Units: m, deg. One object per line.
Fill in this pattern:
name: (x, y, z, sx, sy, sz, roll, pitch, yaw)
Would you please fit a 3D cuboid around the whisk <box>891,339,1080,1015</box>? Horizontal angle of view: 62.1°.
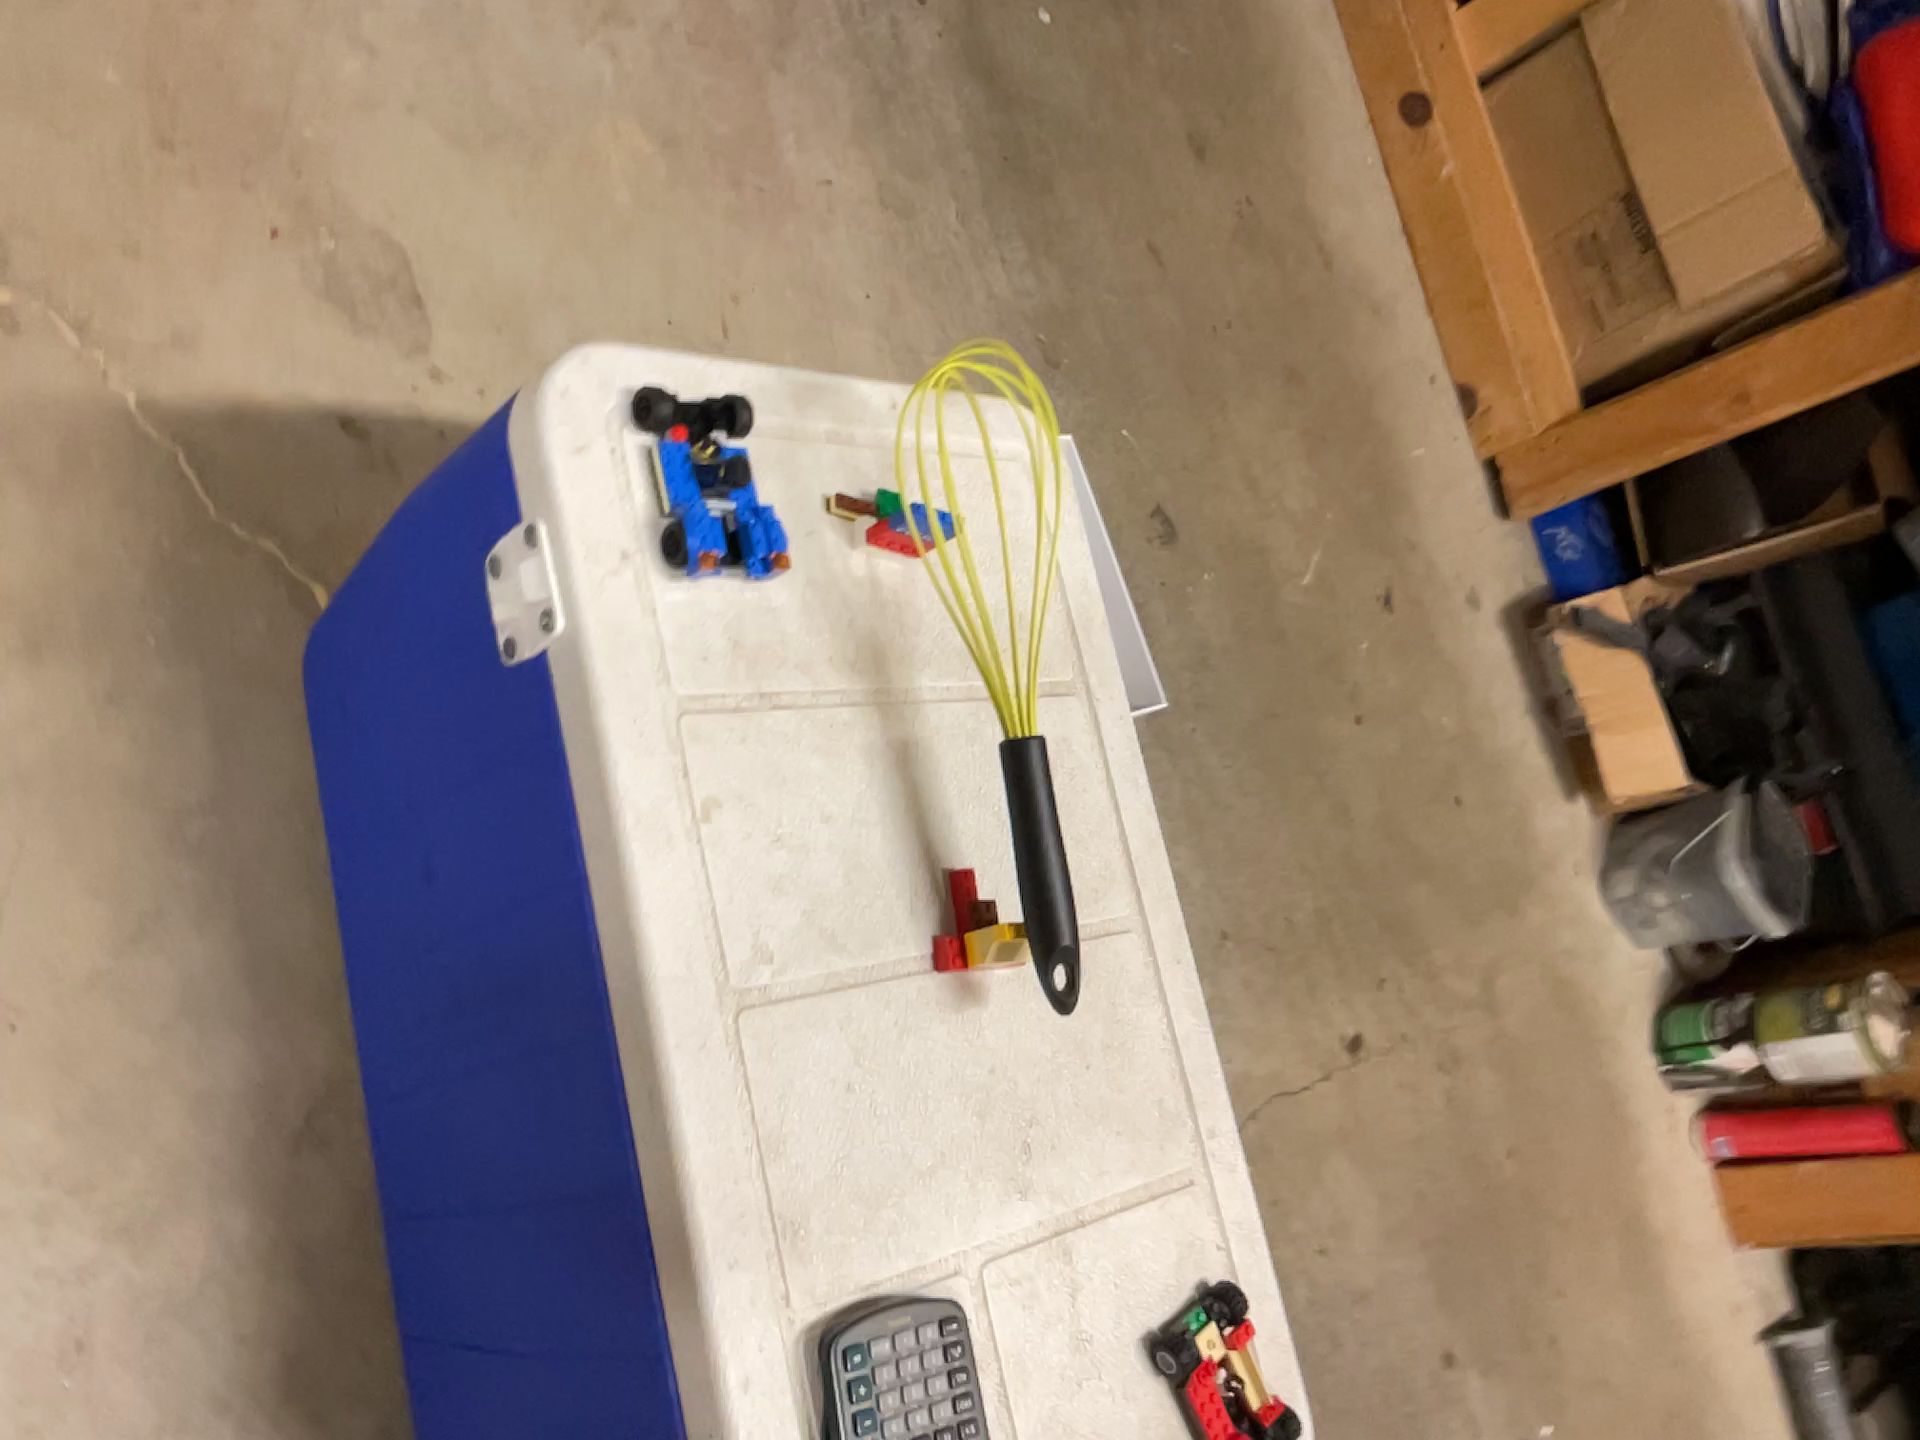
whisk: (0.023, -0.021, 0.732, 0.080, 0.067, 0.311, -9, 87, 2)
